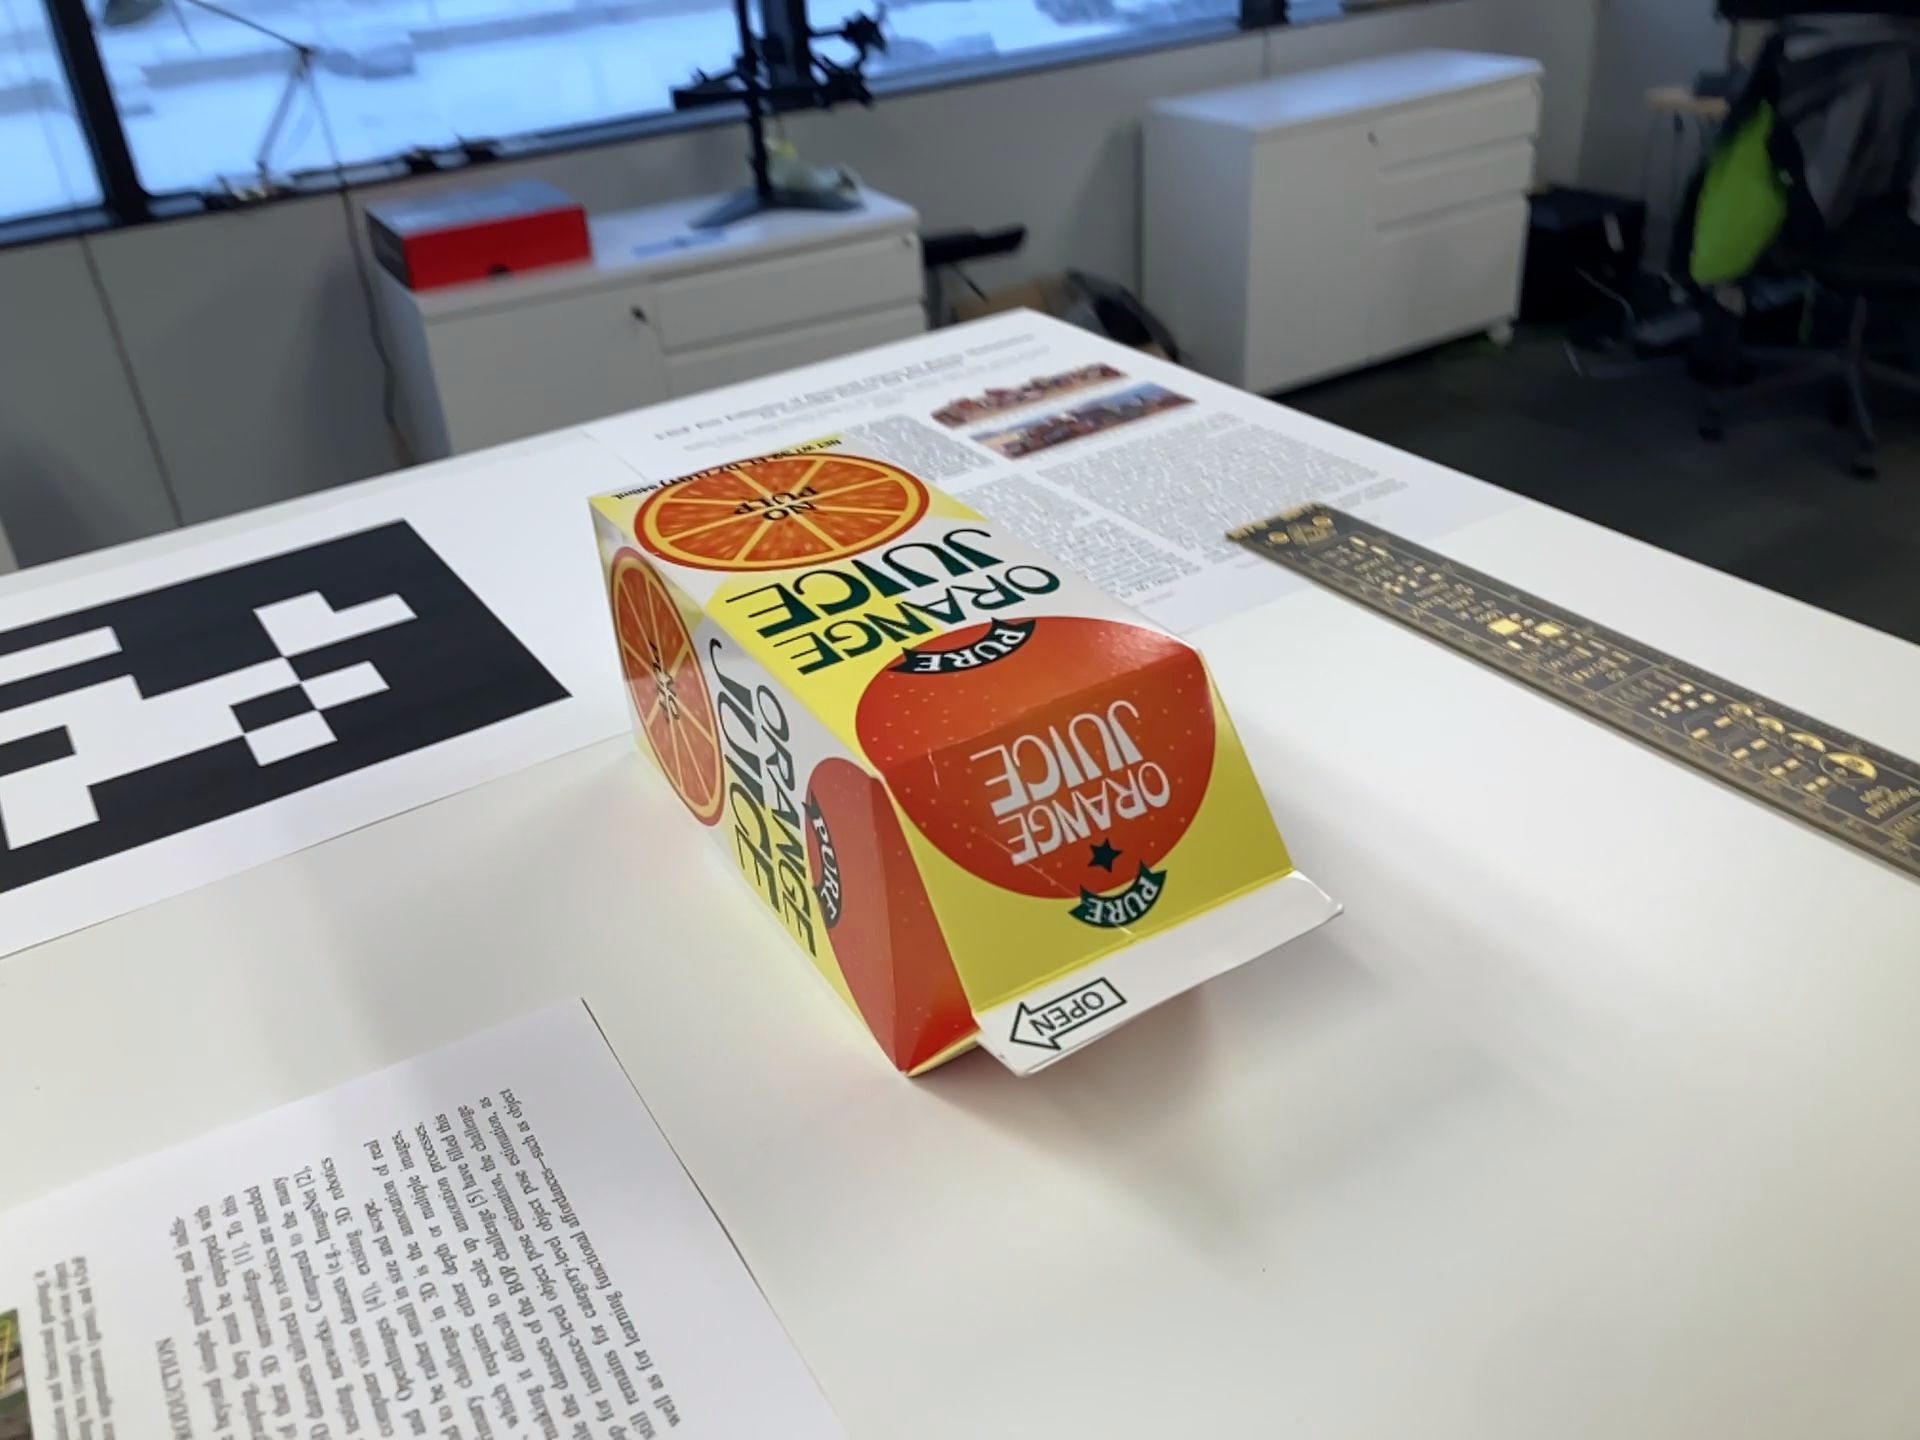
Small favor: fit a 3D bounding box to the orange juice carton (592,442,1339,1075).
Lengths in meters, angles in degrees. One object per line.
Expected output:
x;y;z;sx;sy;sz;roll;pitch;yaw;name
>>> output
-0.009;0.006;0.344;0.072;0.073;0.192;-19;34;-24;orange juice carton
